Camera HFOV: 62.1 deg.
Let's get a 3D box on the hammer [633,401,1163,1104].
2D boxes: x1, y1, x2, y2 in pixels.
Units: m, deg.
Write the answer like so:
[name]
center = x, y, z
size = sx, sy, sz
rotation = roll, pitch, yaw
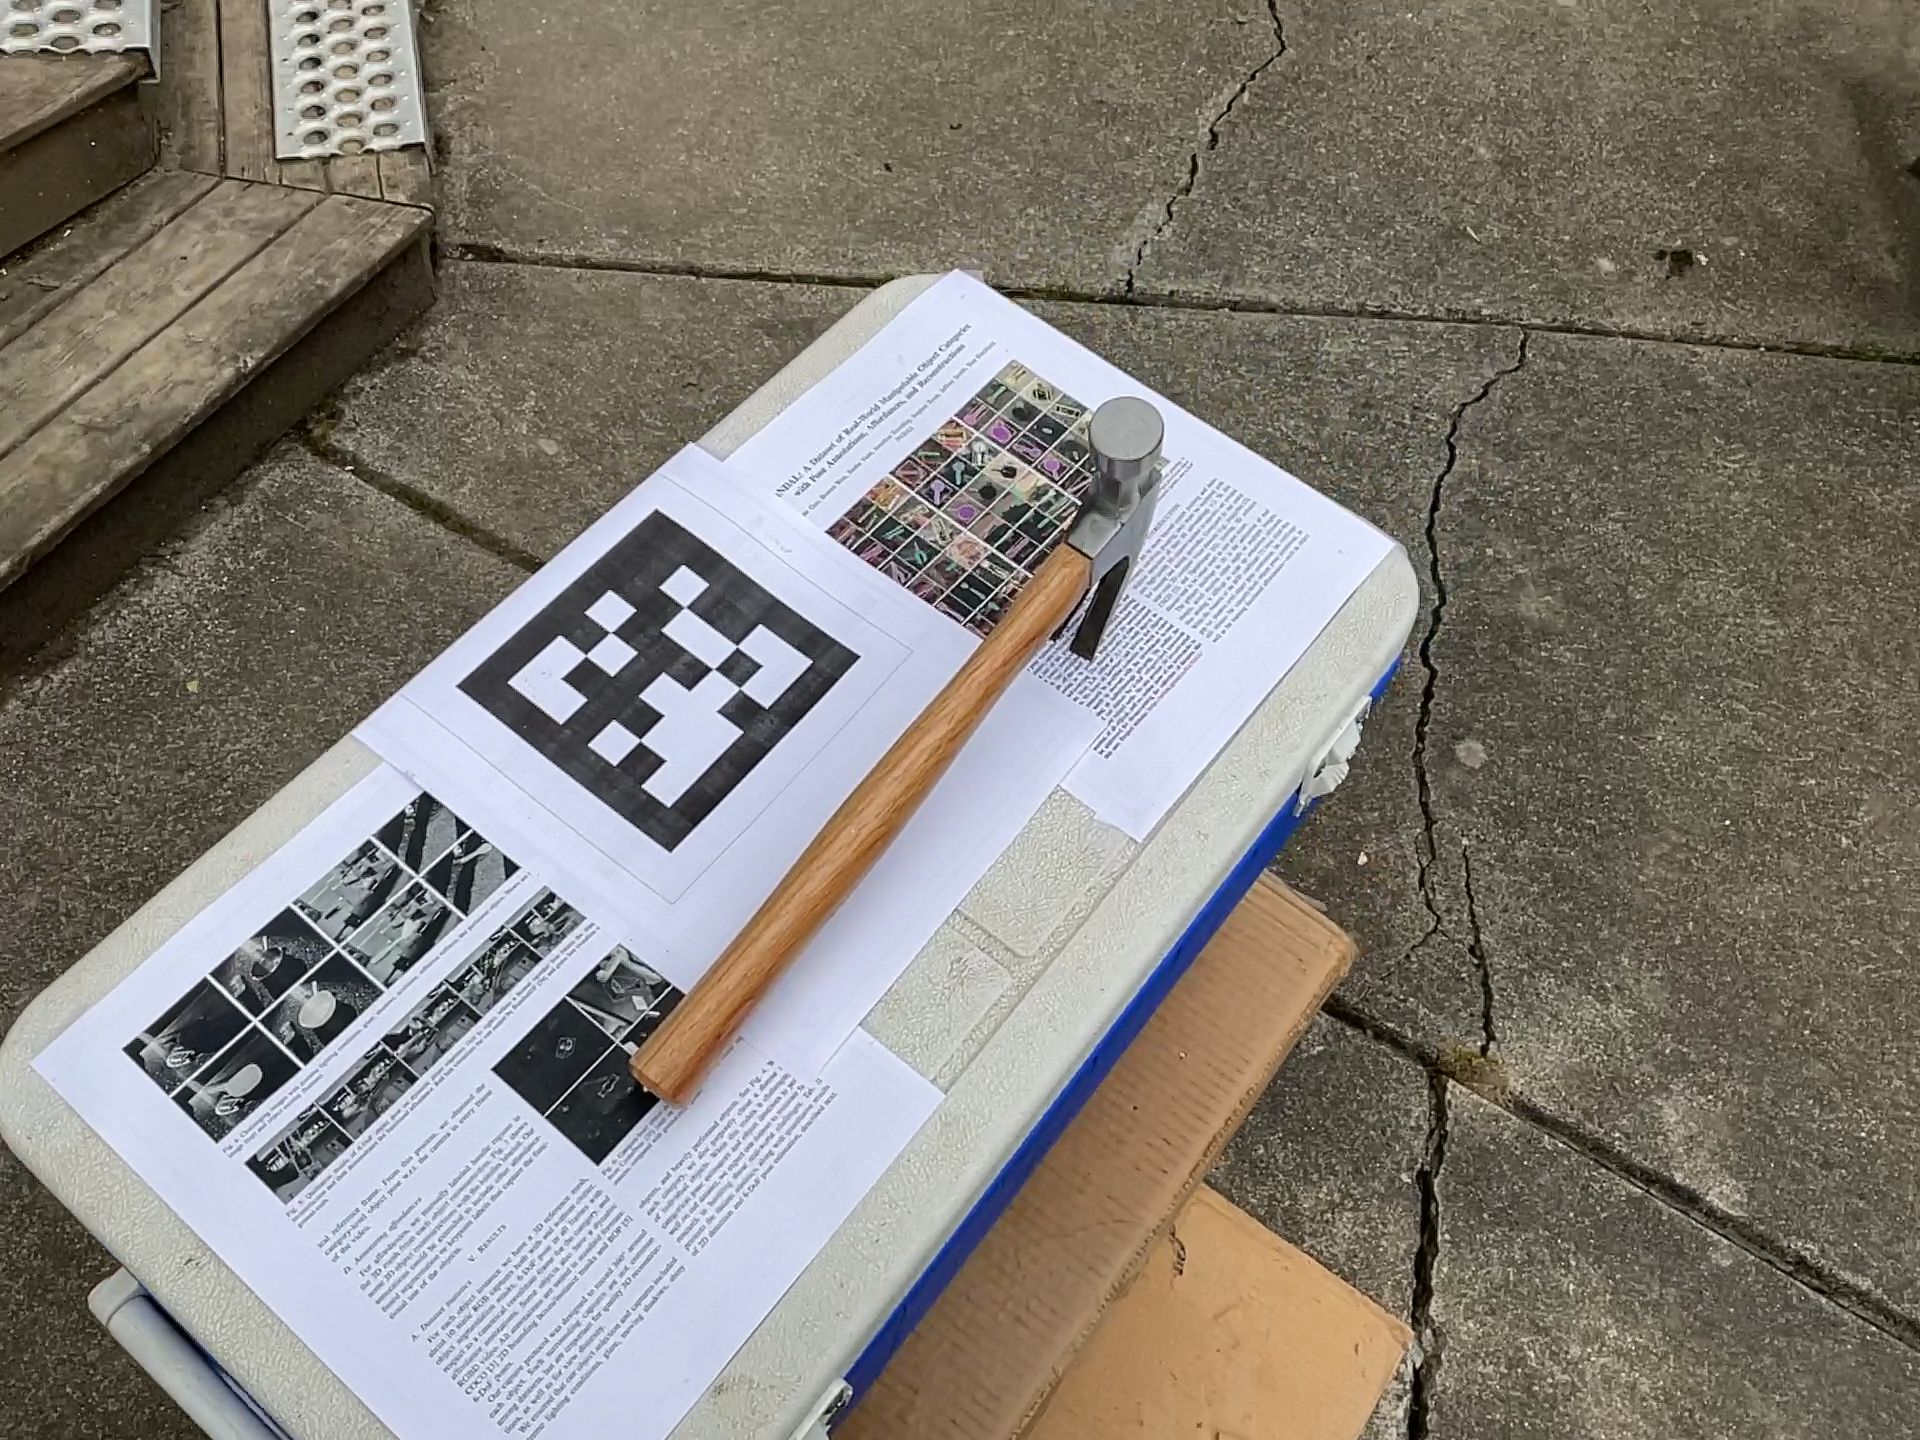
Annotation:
[hammer]
center = -0.018, 0.019, 0.668
size = 0.031, 0.130, 0.331
rotation = 34, 74, 17
